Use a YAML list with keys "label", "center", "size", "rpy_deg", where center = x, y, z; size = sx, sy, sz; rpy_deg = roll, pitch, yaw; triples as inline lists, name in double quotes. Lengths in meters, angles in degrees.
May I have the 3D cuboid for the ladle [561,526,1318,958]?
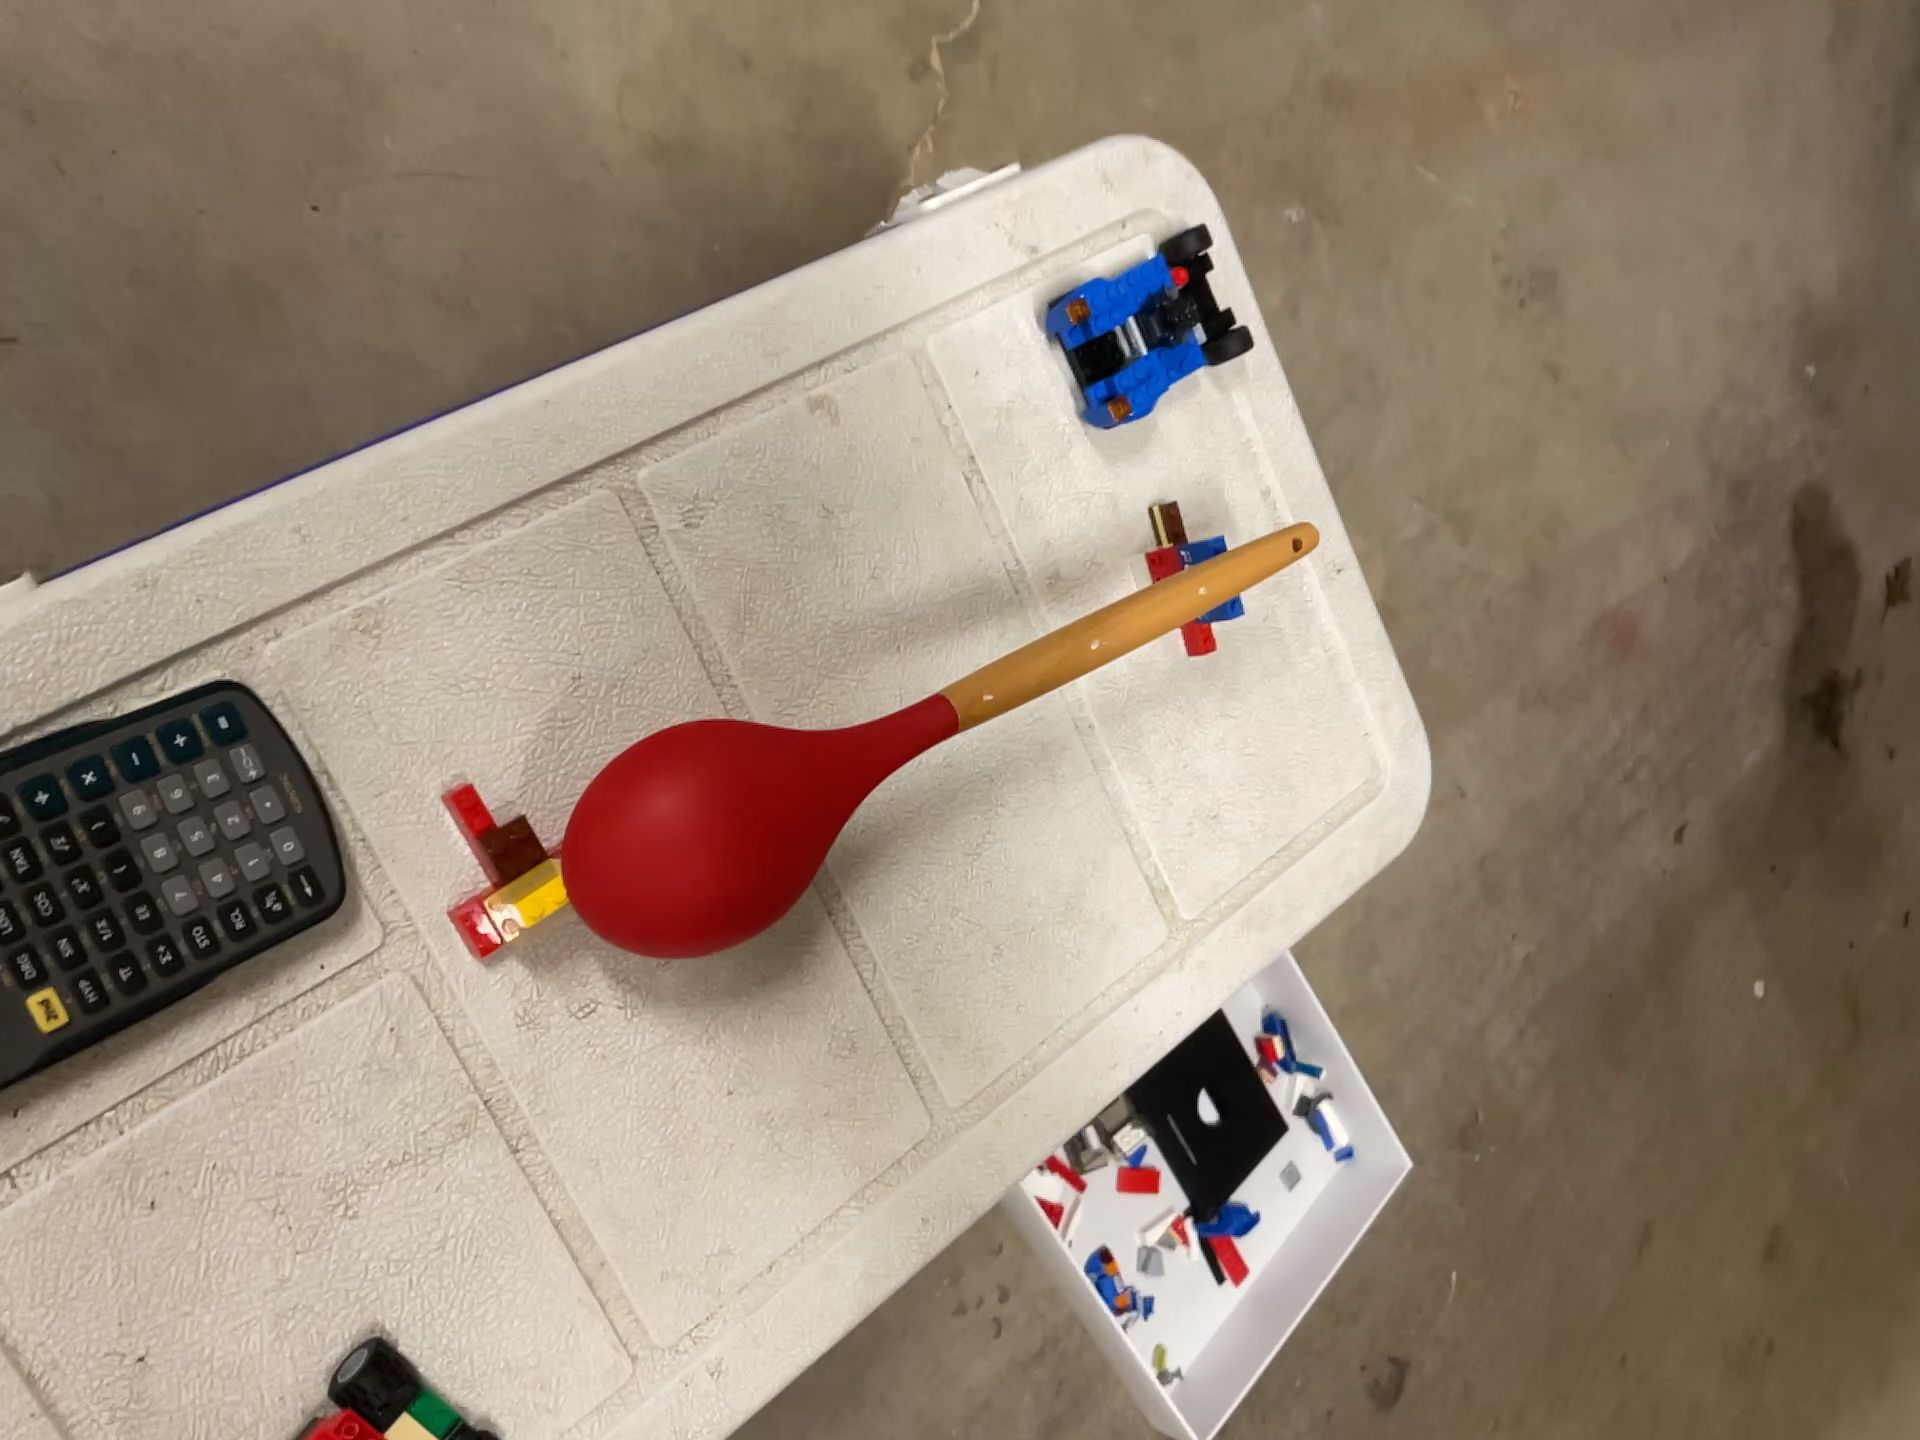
- label: "ladle"
  center: [0.014, -0.010, 0.534]
  size: [0.315, 0.031, 0.069]
  rpy_deg: [-26, 101, -32]
